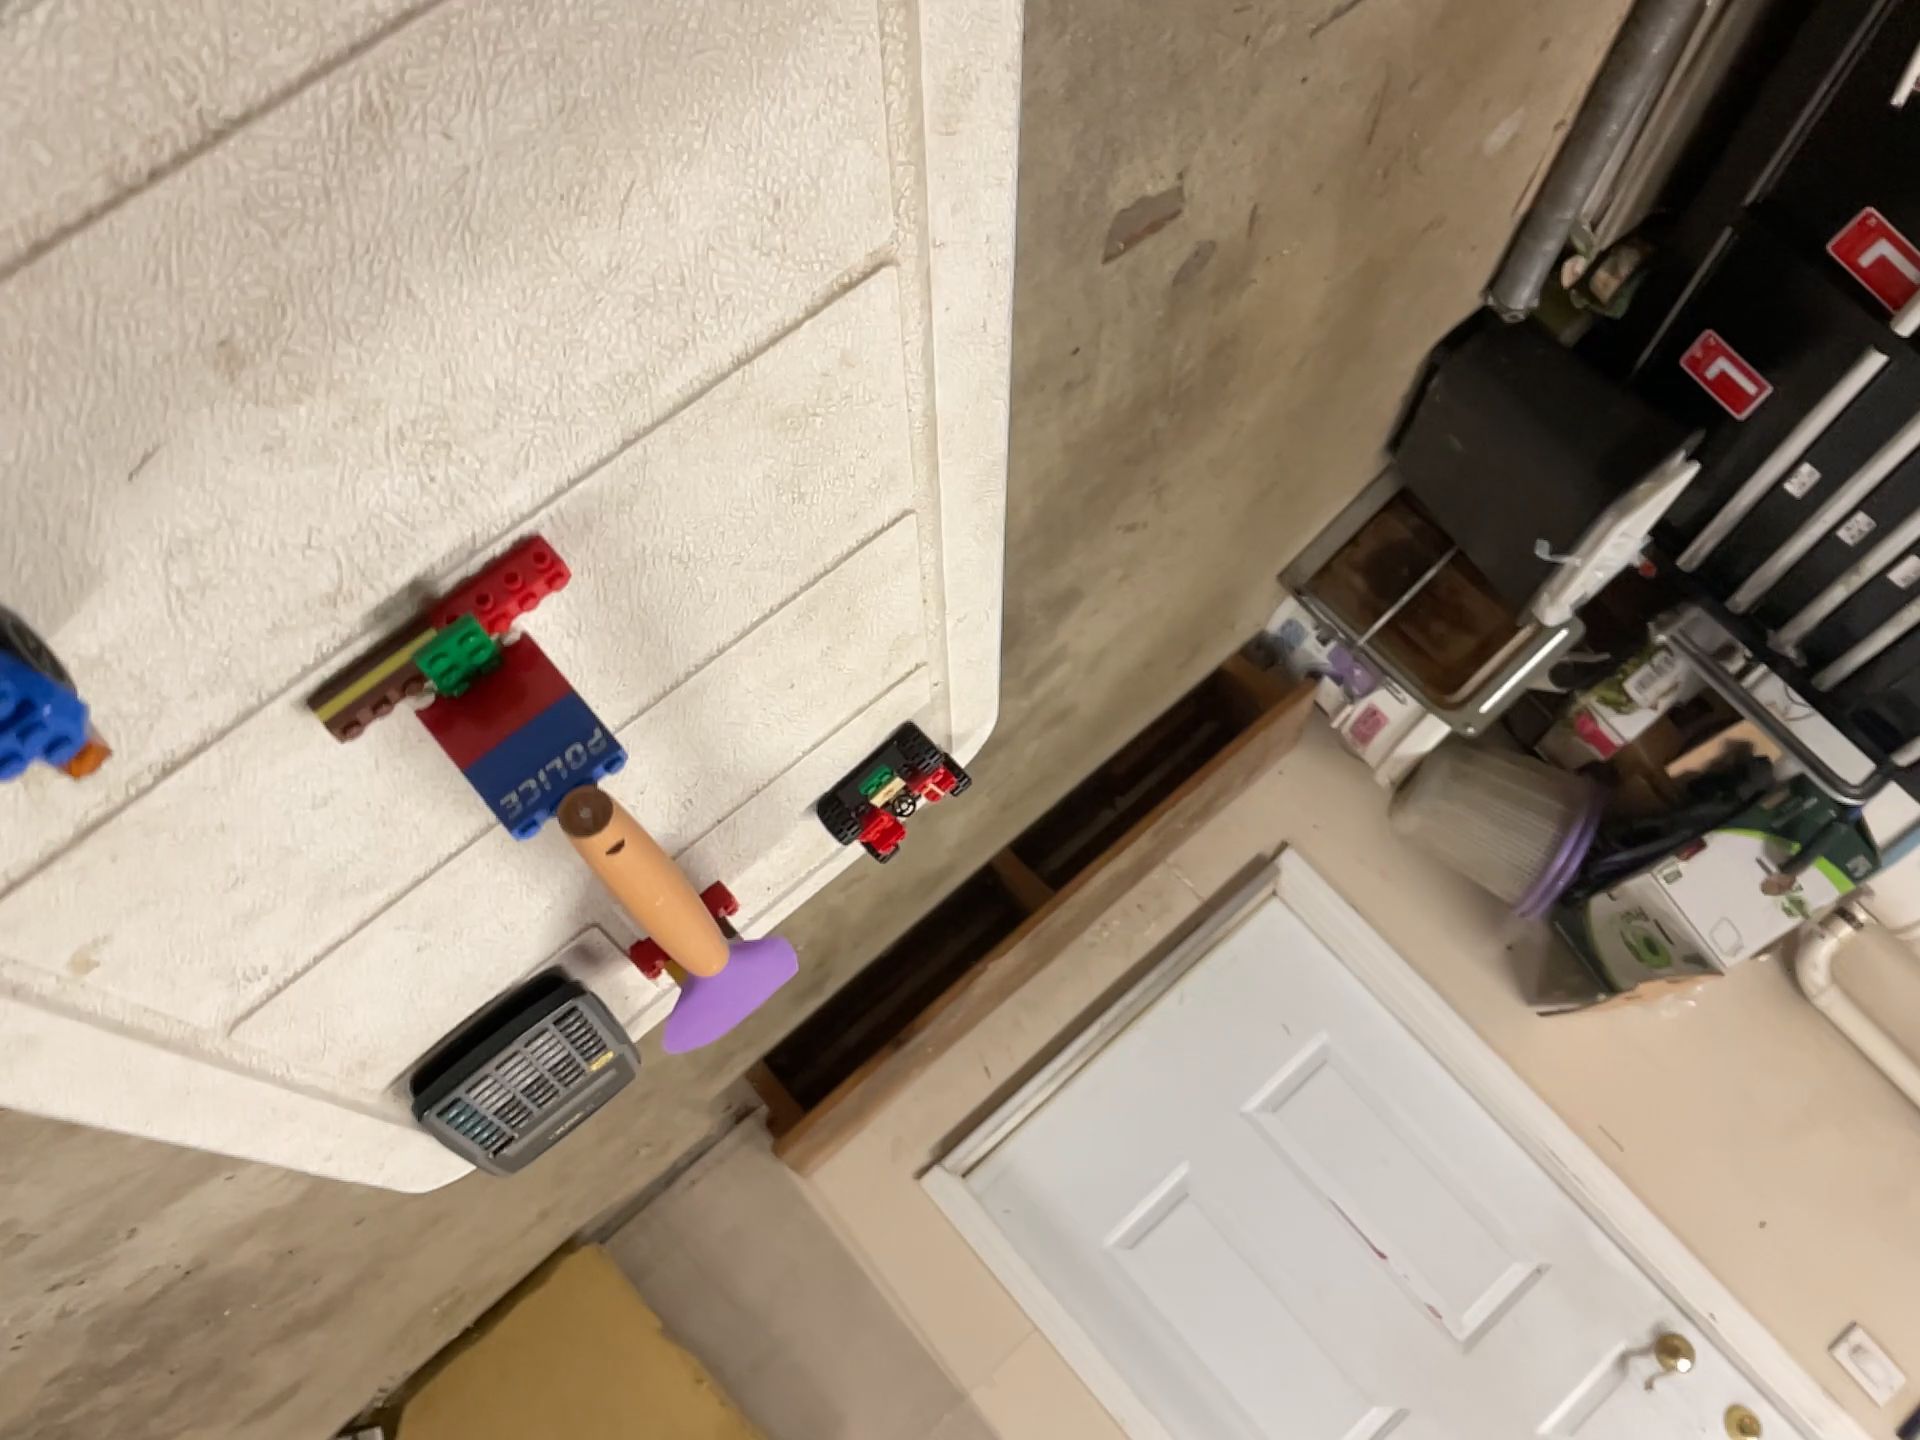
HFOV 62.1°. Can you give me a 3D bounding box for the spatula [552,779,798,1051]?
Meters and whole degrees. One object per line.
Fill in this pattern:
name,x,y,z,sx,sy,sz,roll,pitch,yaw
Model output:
spatula,-0.087,0.070,0.507,0.060,0.018,0.315,-40,166,-13
